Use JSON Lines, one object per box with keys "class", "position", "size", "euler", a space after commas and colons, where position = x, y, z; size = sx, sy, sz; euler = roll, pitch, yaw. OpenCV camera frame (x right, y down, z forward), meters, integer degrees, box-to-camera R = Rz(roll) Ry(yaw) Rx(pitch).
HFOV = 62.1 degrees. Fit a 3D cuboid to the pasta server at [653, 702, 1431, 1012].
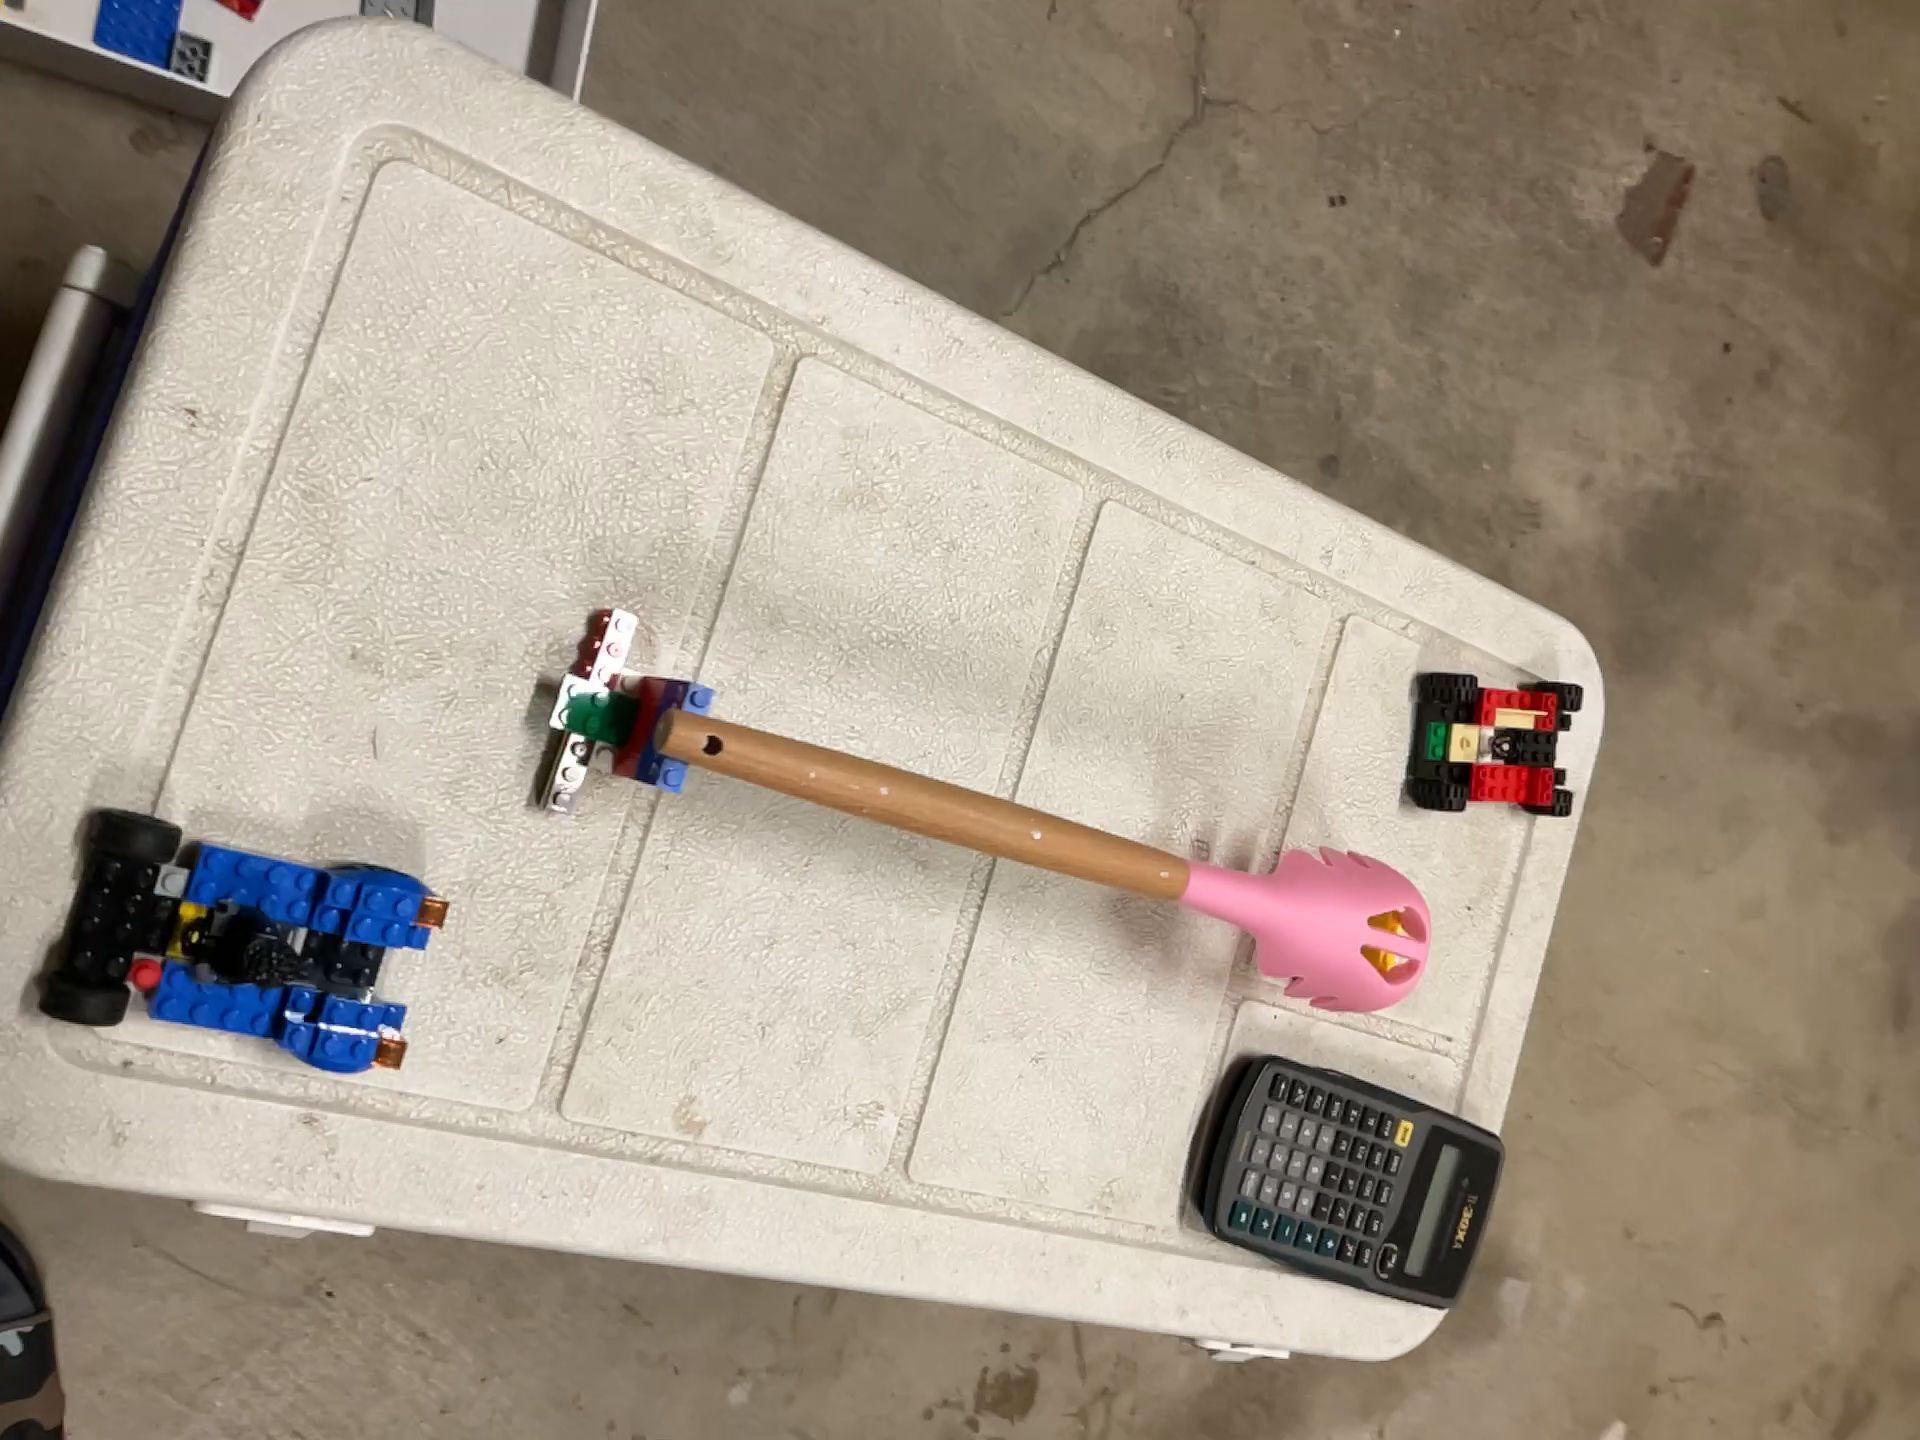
{"class": "pasta server", "position": [0.045, 0.045, 0.525], "size": [0.316, 0.040, 0.060], "euler": [18, 85, -28]}
